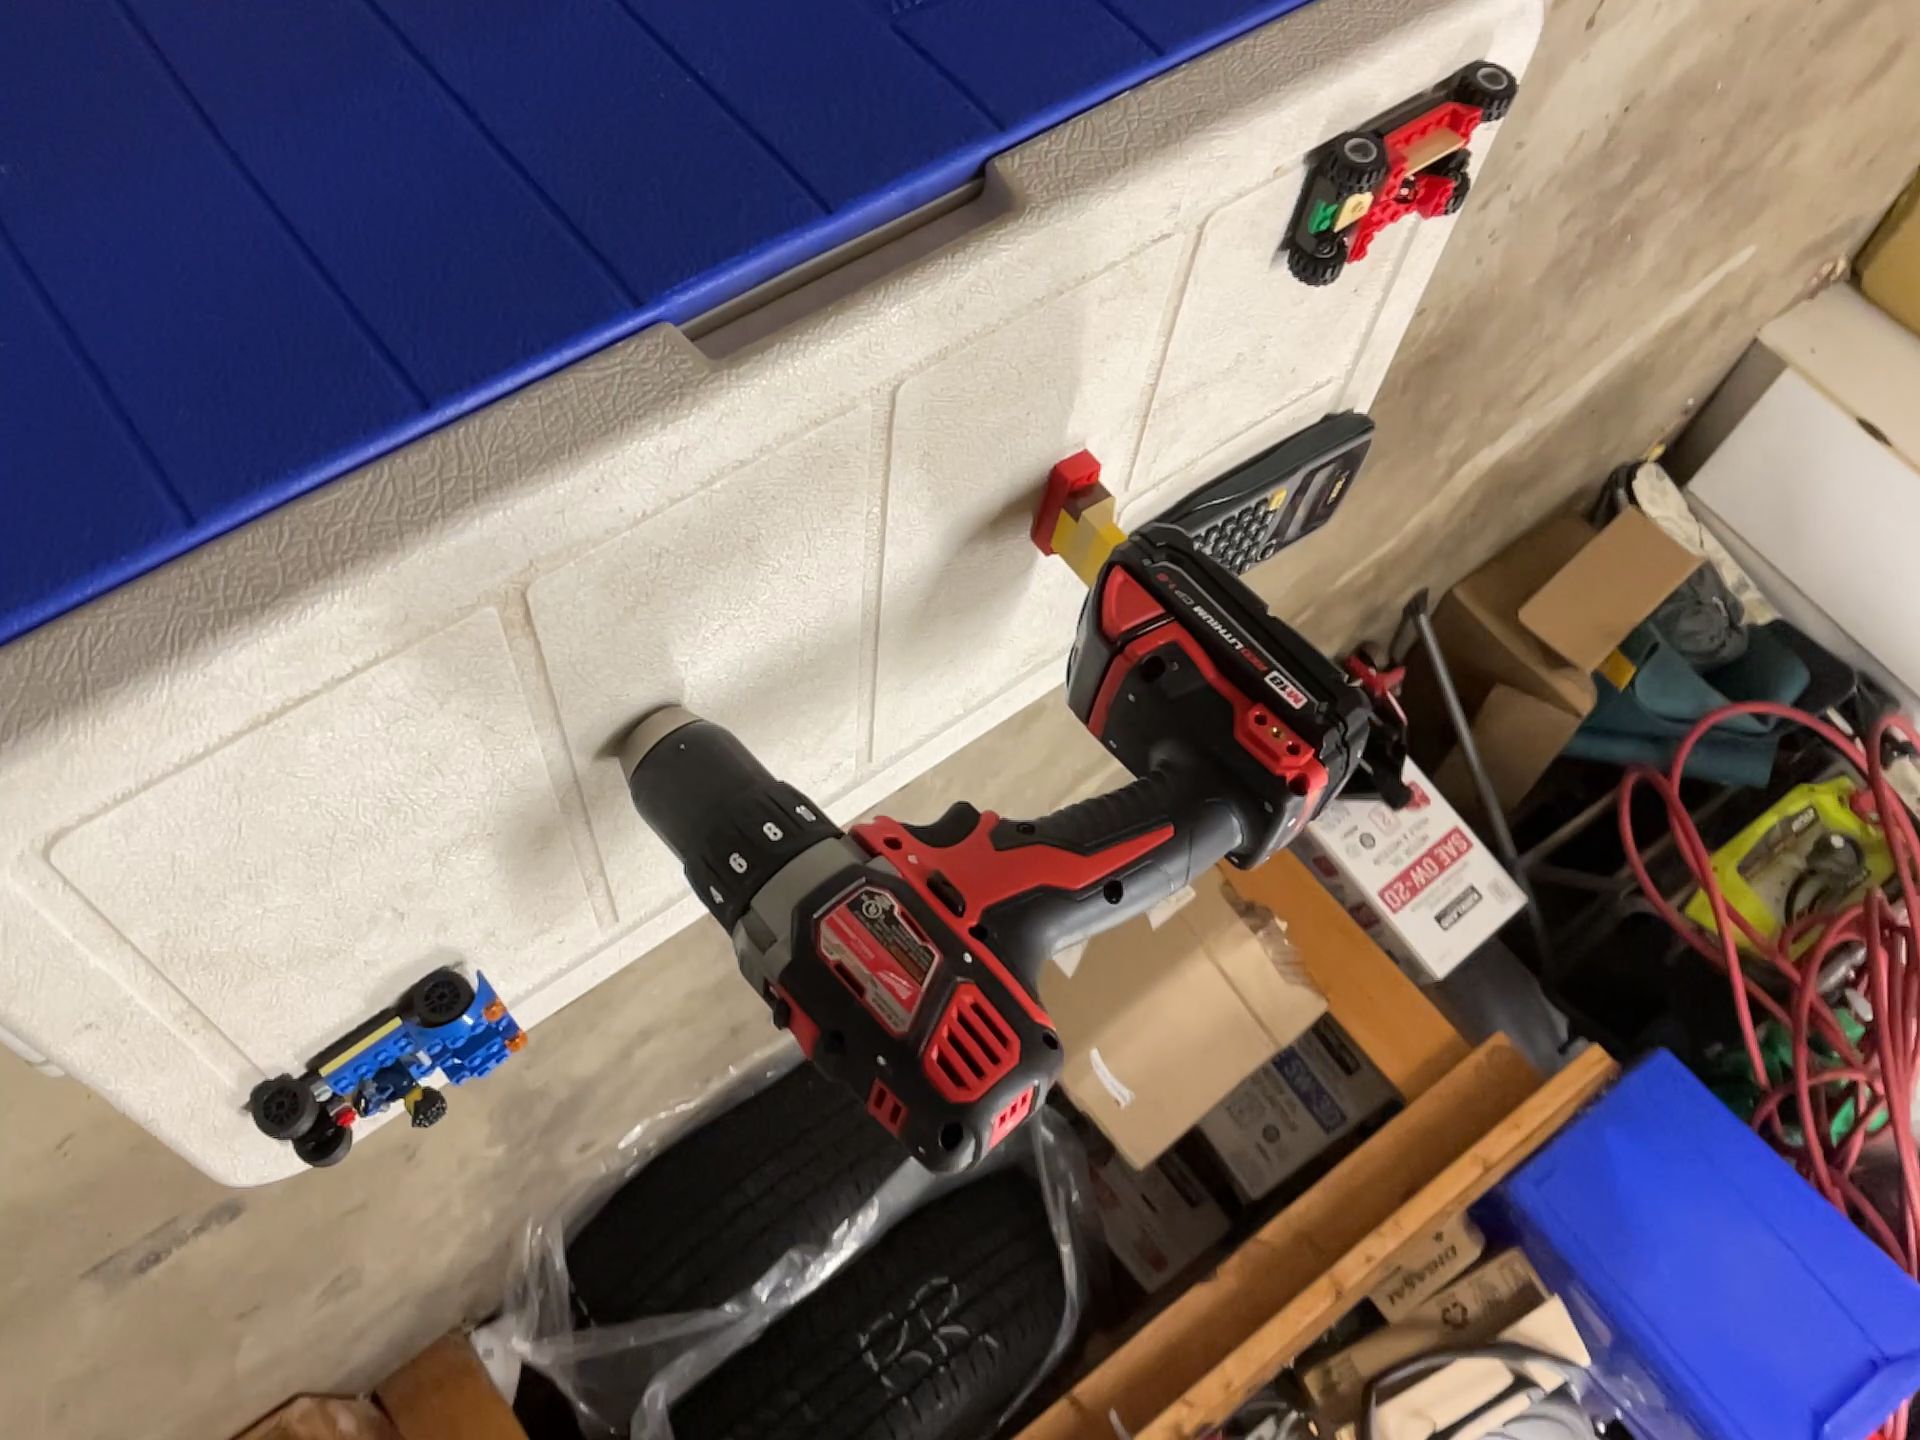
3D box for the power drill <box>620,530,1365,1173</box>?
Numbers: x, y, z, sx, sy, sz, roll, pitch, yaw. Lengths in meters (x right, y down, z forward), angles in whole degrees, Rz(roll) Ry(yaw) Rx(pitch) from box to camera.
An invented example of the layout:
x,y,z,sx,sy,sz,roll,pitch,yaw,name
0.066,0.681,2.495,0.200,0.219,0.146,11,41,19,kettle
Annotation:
x,y,z,sx,sy,sz,roll,pitch,yaw,name
0.011,0.024,0.571,0.227,0.188,0.080,-36,161,-26,power drill
